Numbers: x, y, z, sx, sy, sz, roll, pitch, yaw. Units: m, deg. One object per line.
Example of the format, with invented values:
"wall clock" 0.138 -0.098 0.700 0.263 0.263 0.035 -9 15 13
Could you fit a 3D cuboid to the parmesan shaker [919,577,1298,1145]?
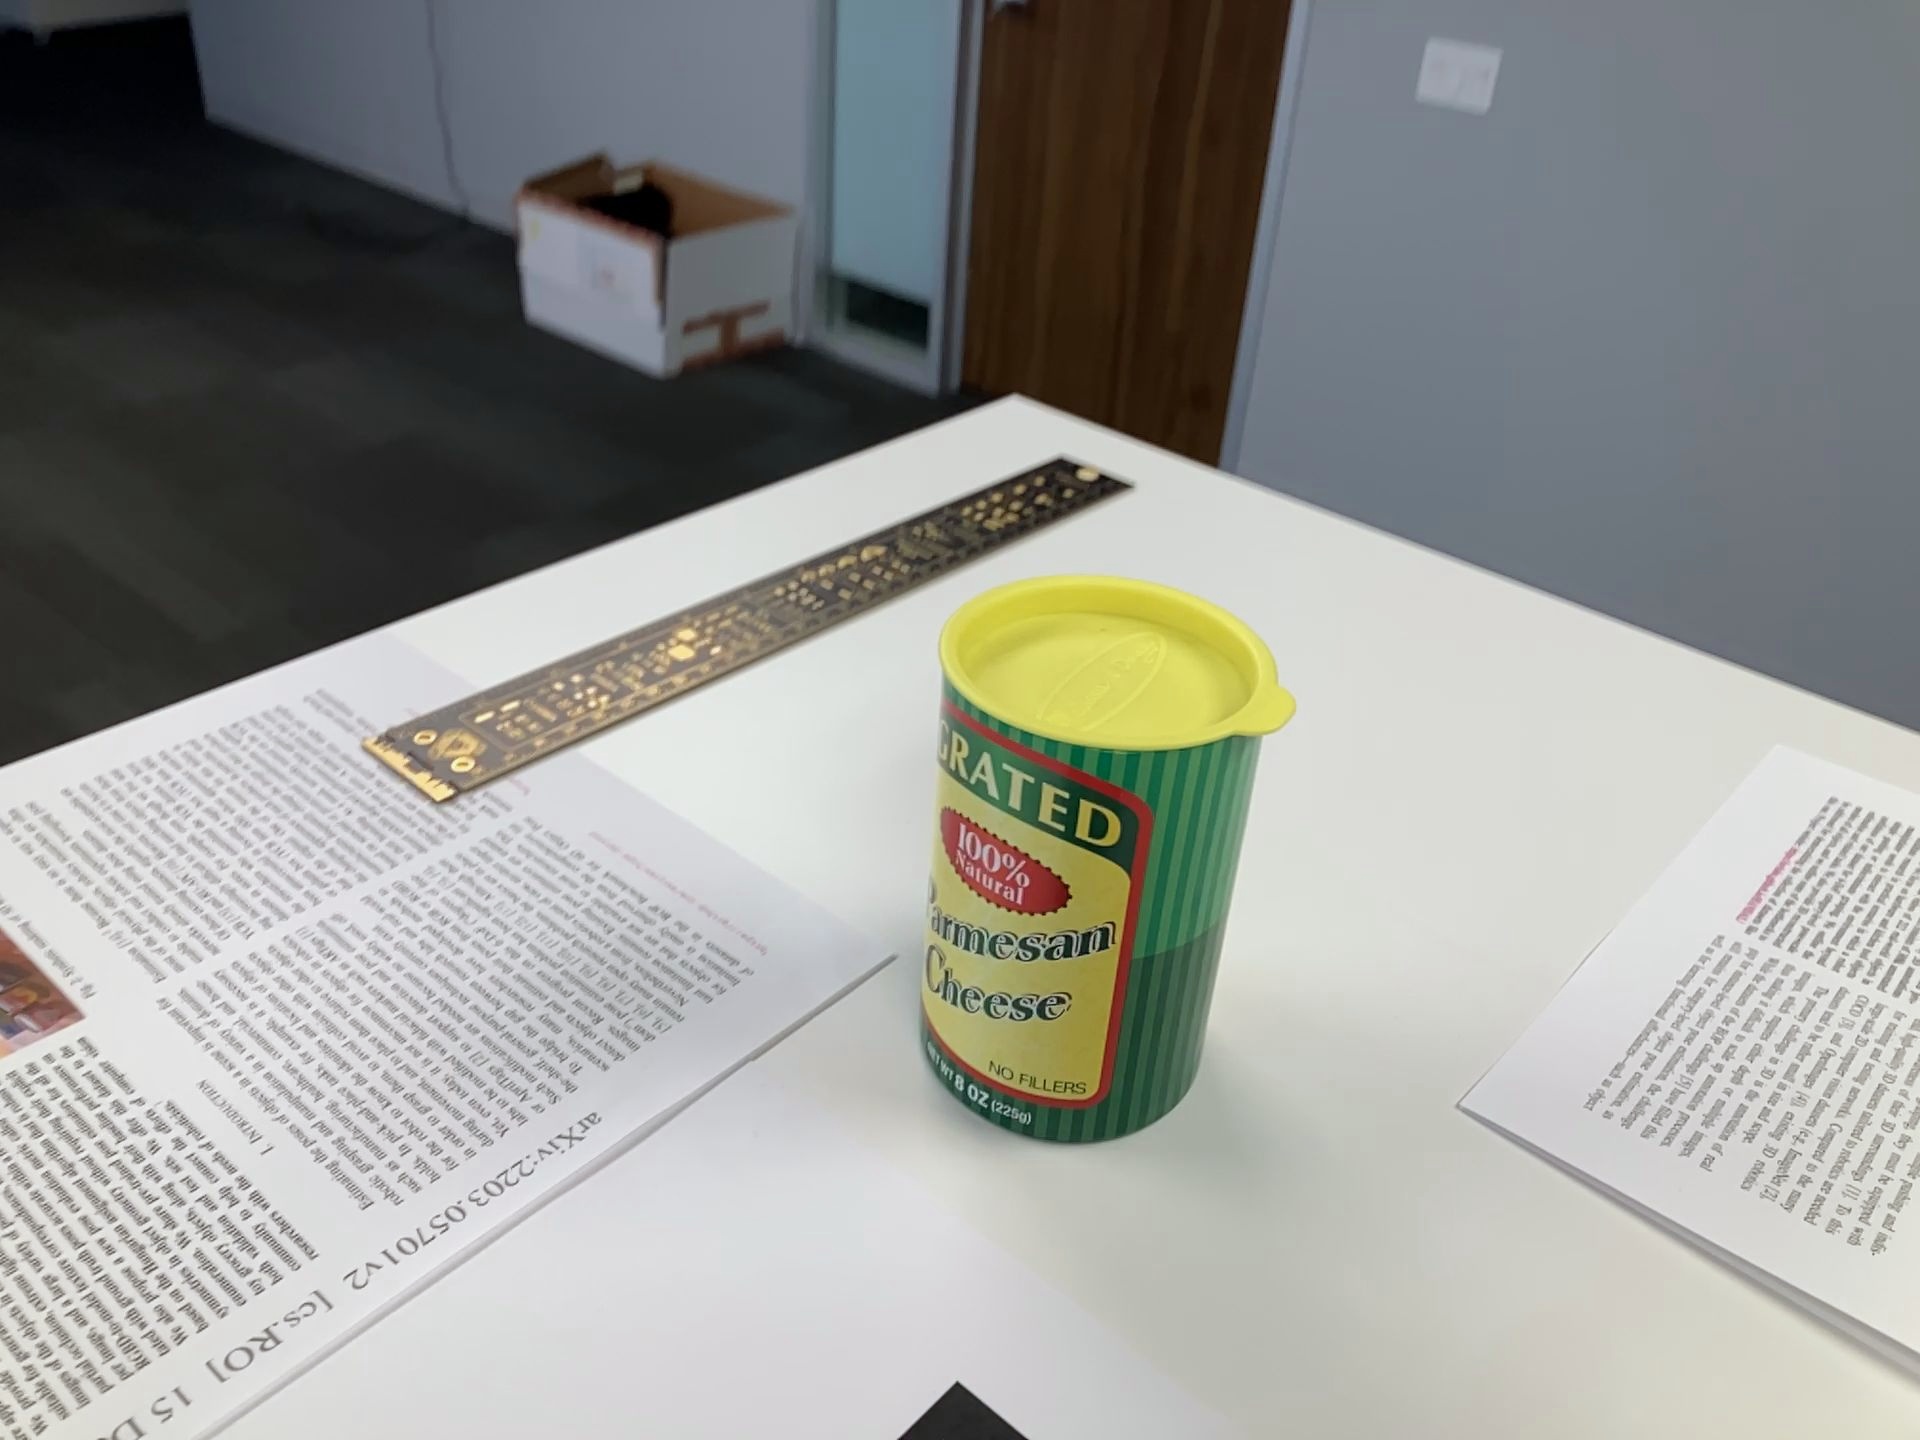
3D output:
"parmesan shaker" 0.028 0.031 0.334 0.071 0.103 0.071 3 32 -2
